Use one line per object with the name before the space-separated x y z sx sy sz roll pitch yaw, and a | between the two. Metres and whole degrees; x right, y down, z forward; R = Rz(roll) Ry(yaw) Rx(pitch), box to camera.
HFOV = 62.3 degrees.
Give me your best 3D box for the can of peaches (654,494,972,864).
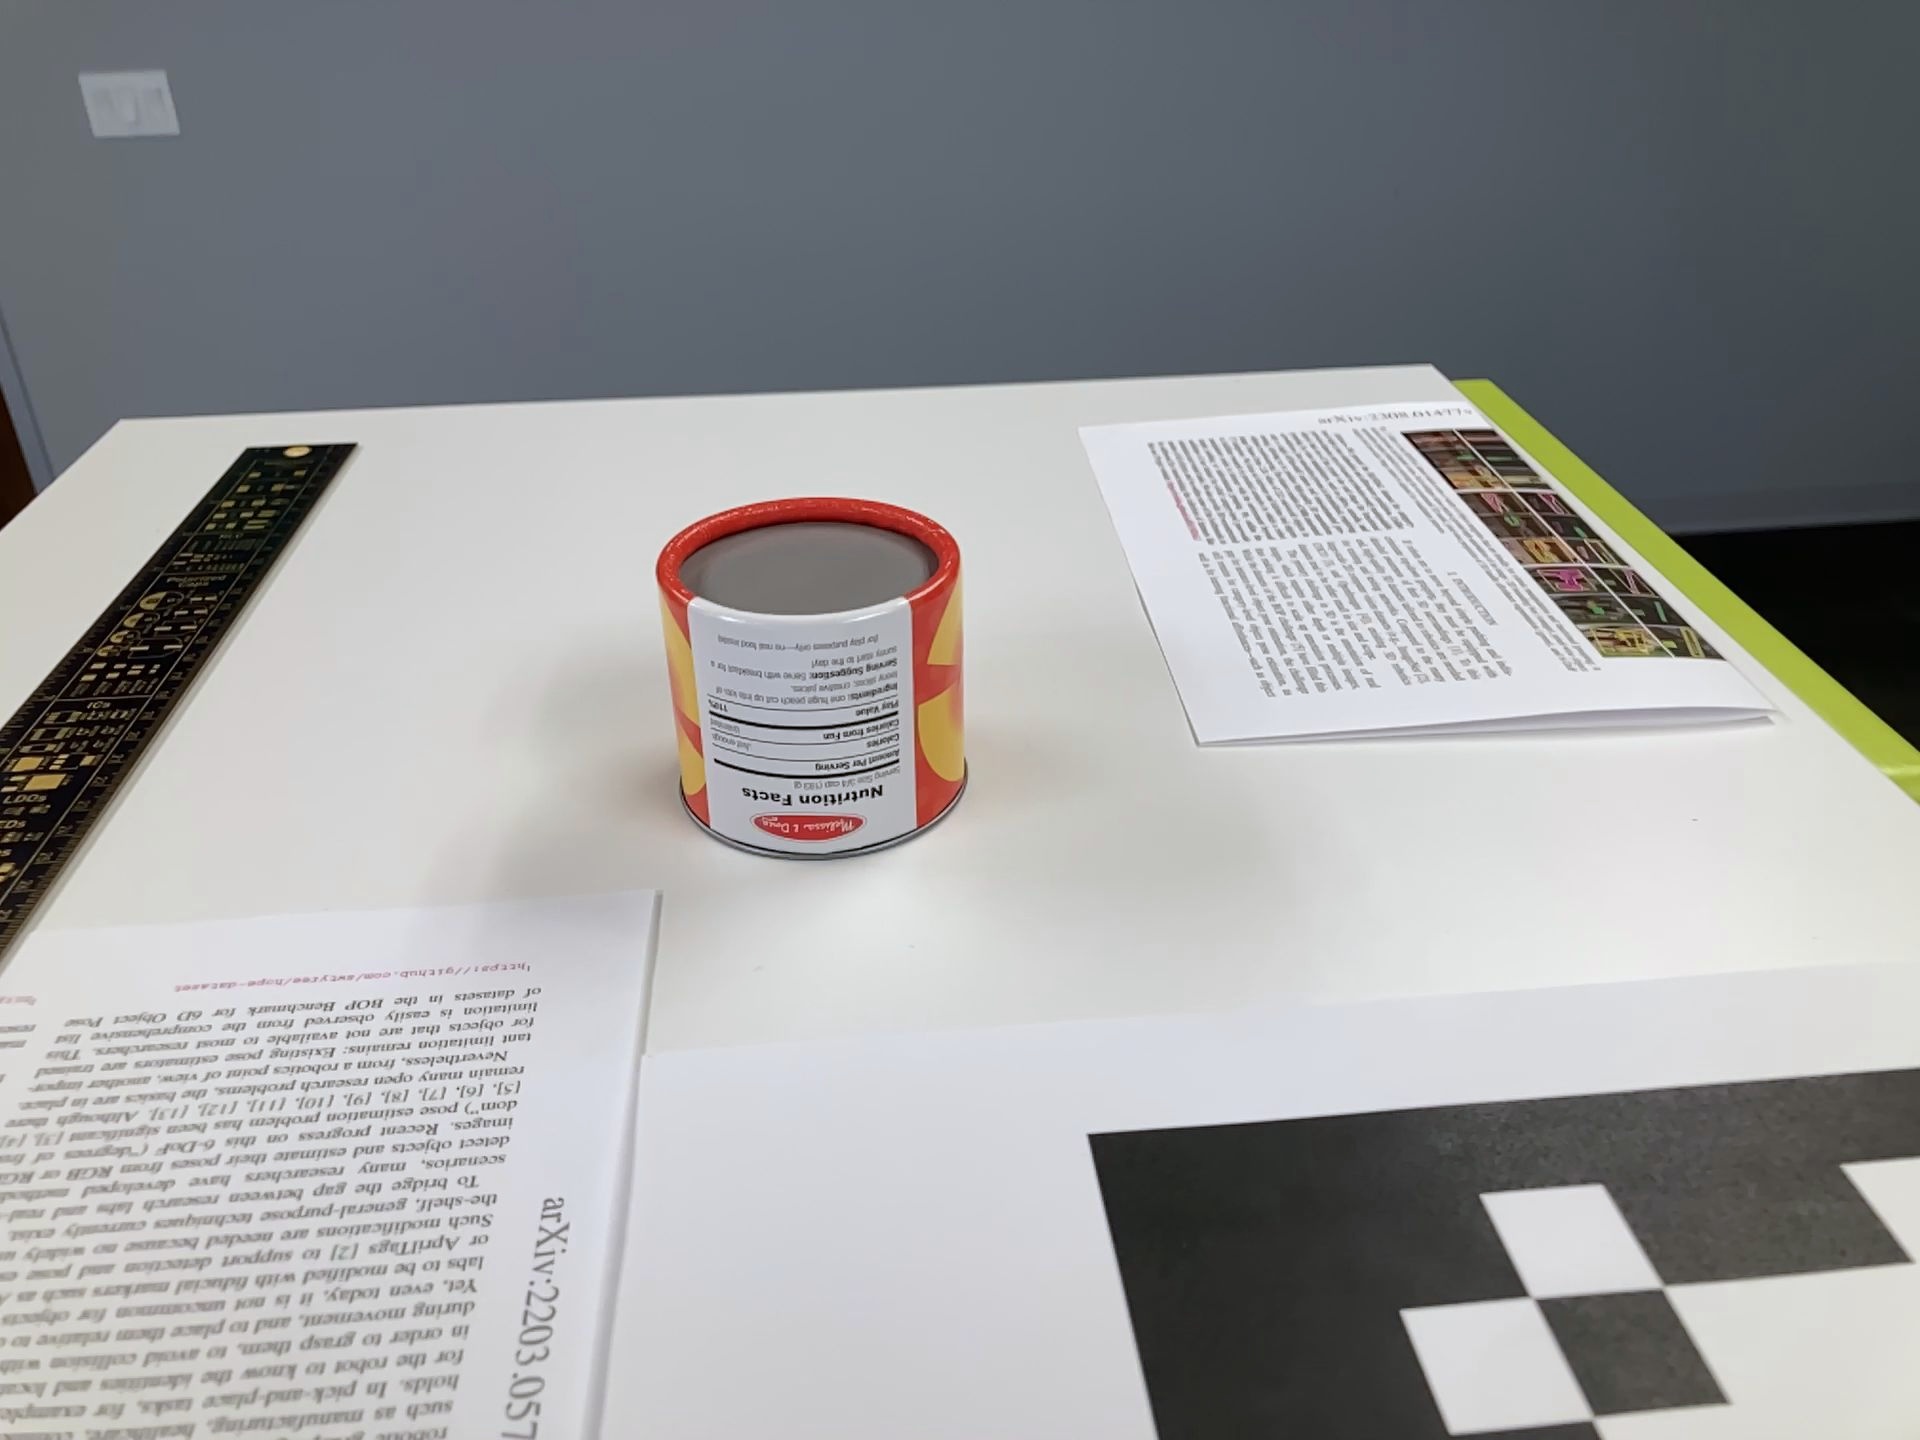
can of peaches | -0.031 -0.012 0.349 0.071 0.058 0.071 -1 31 1
